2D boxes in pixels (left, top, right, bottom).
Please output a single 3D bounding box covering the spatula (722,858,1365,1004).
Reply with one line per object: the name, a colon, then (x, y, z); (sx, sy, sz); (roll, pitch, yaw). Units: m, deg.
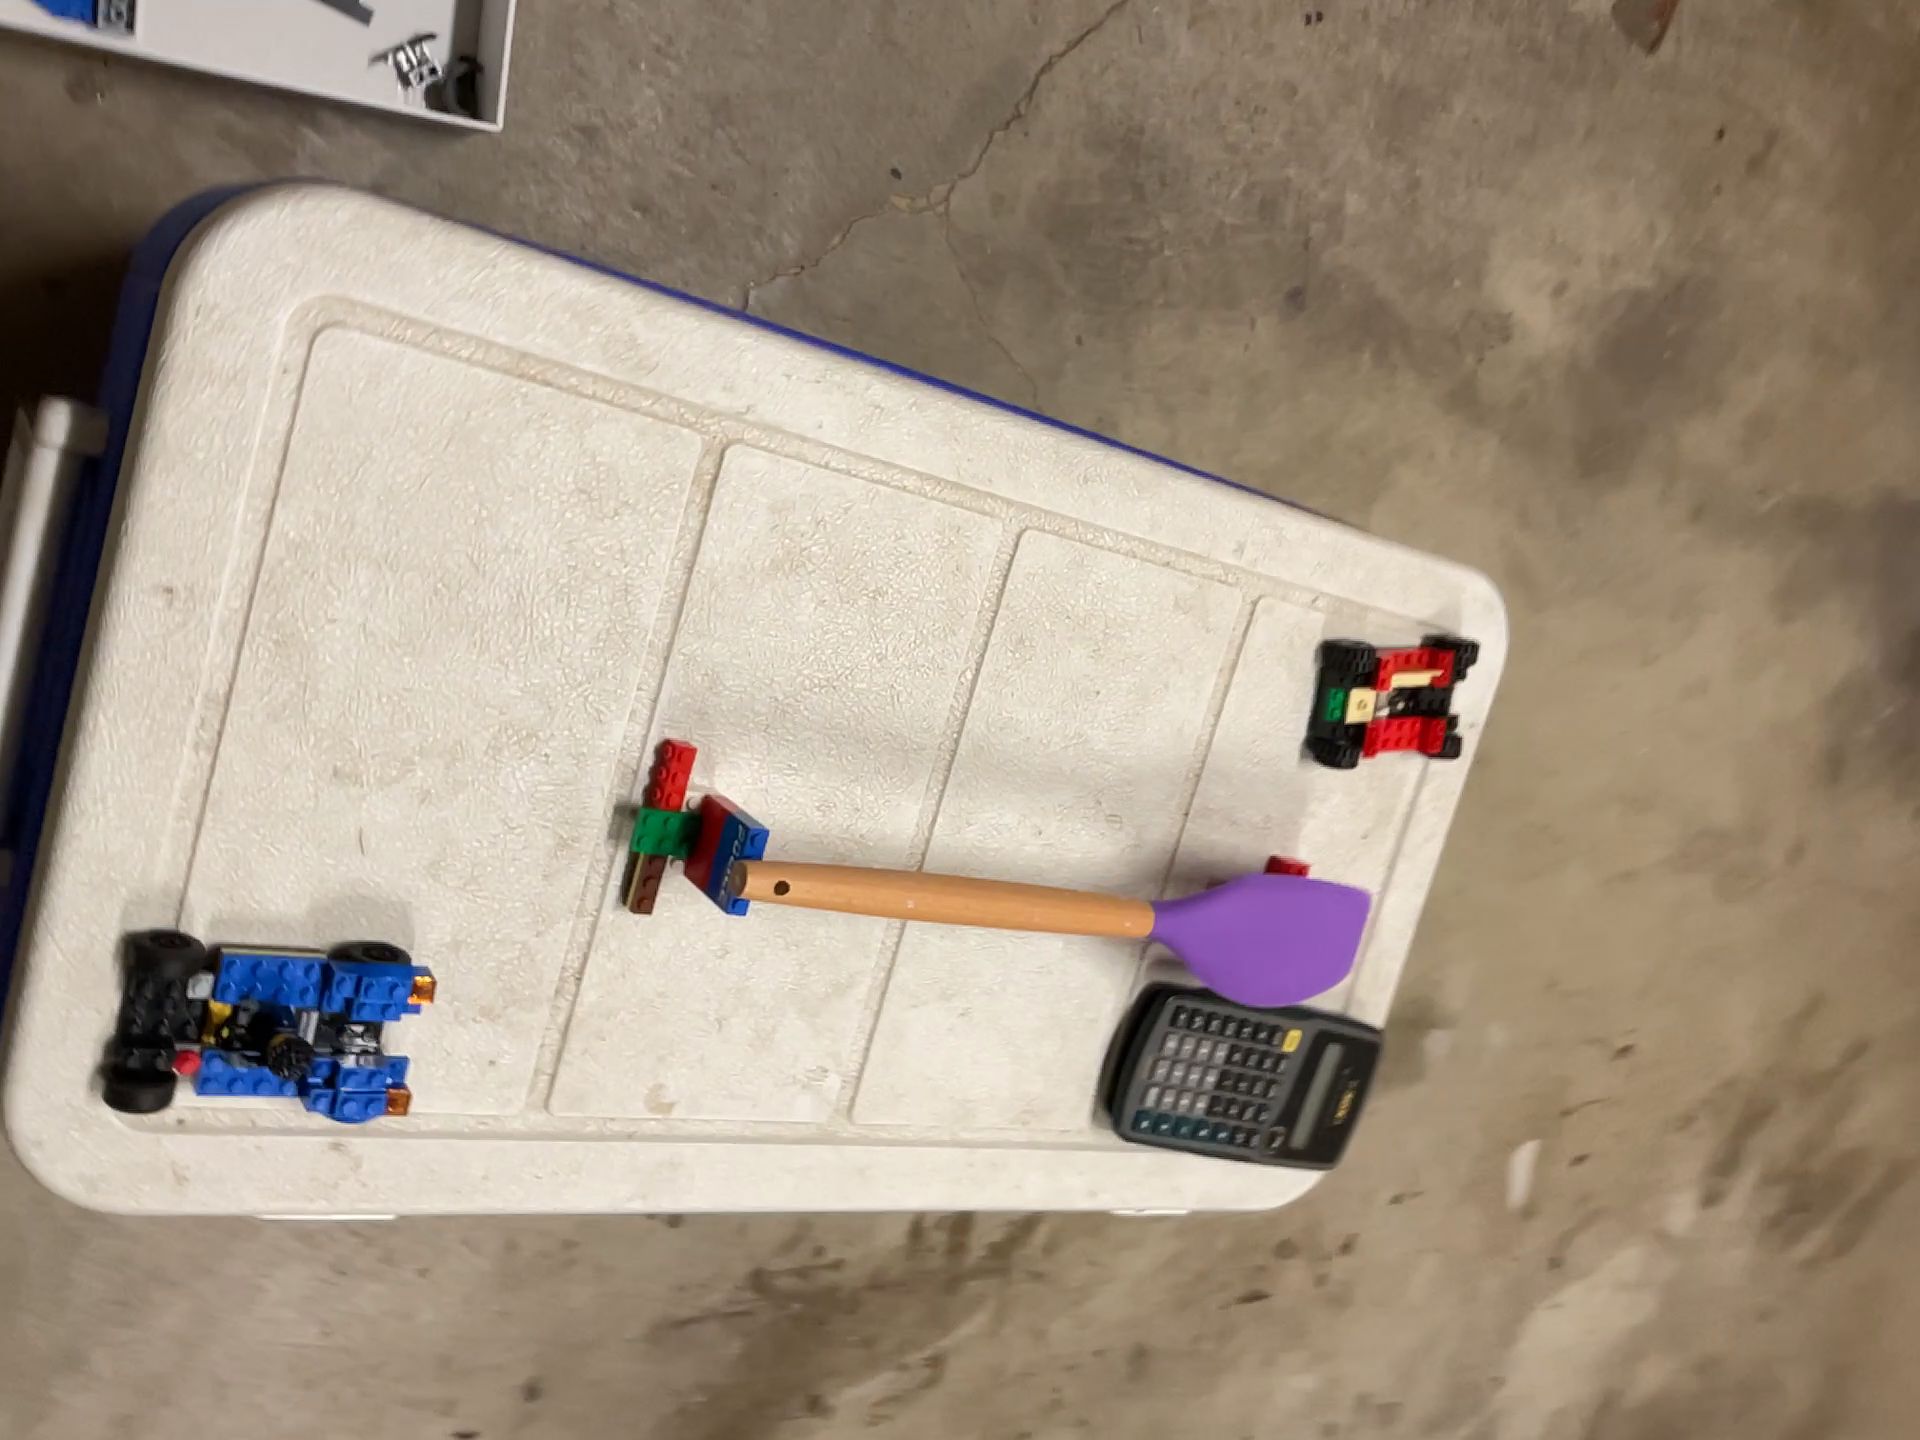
spatula: (0.049, 0.078, 0.627); (0.316, 0.018, 0.059); (11, 98, -35)
